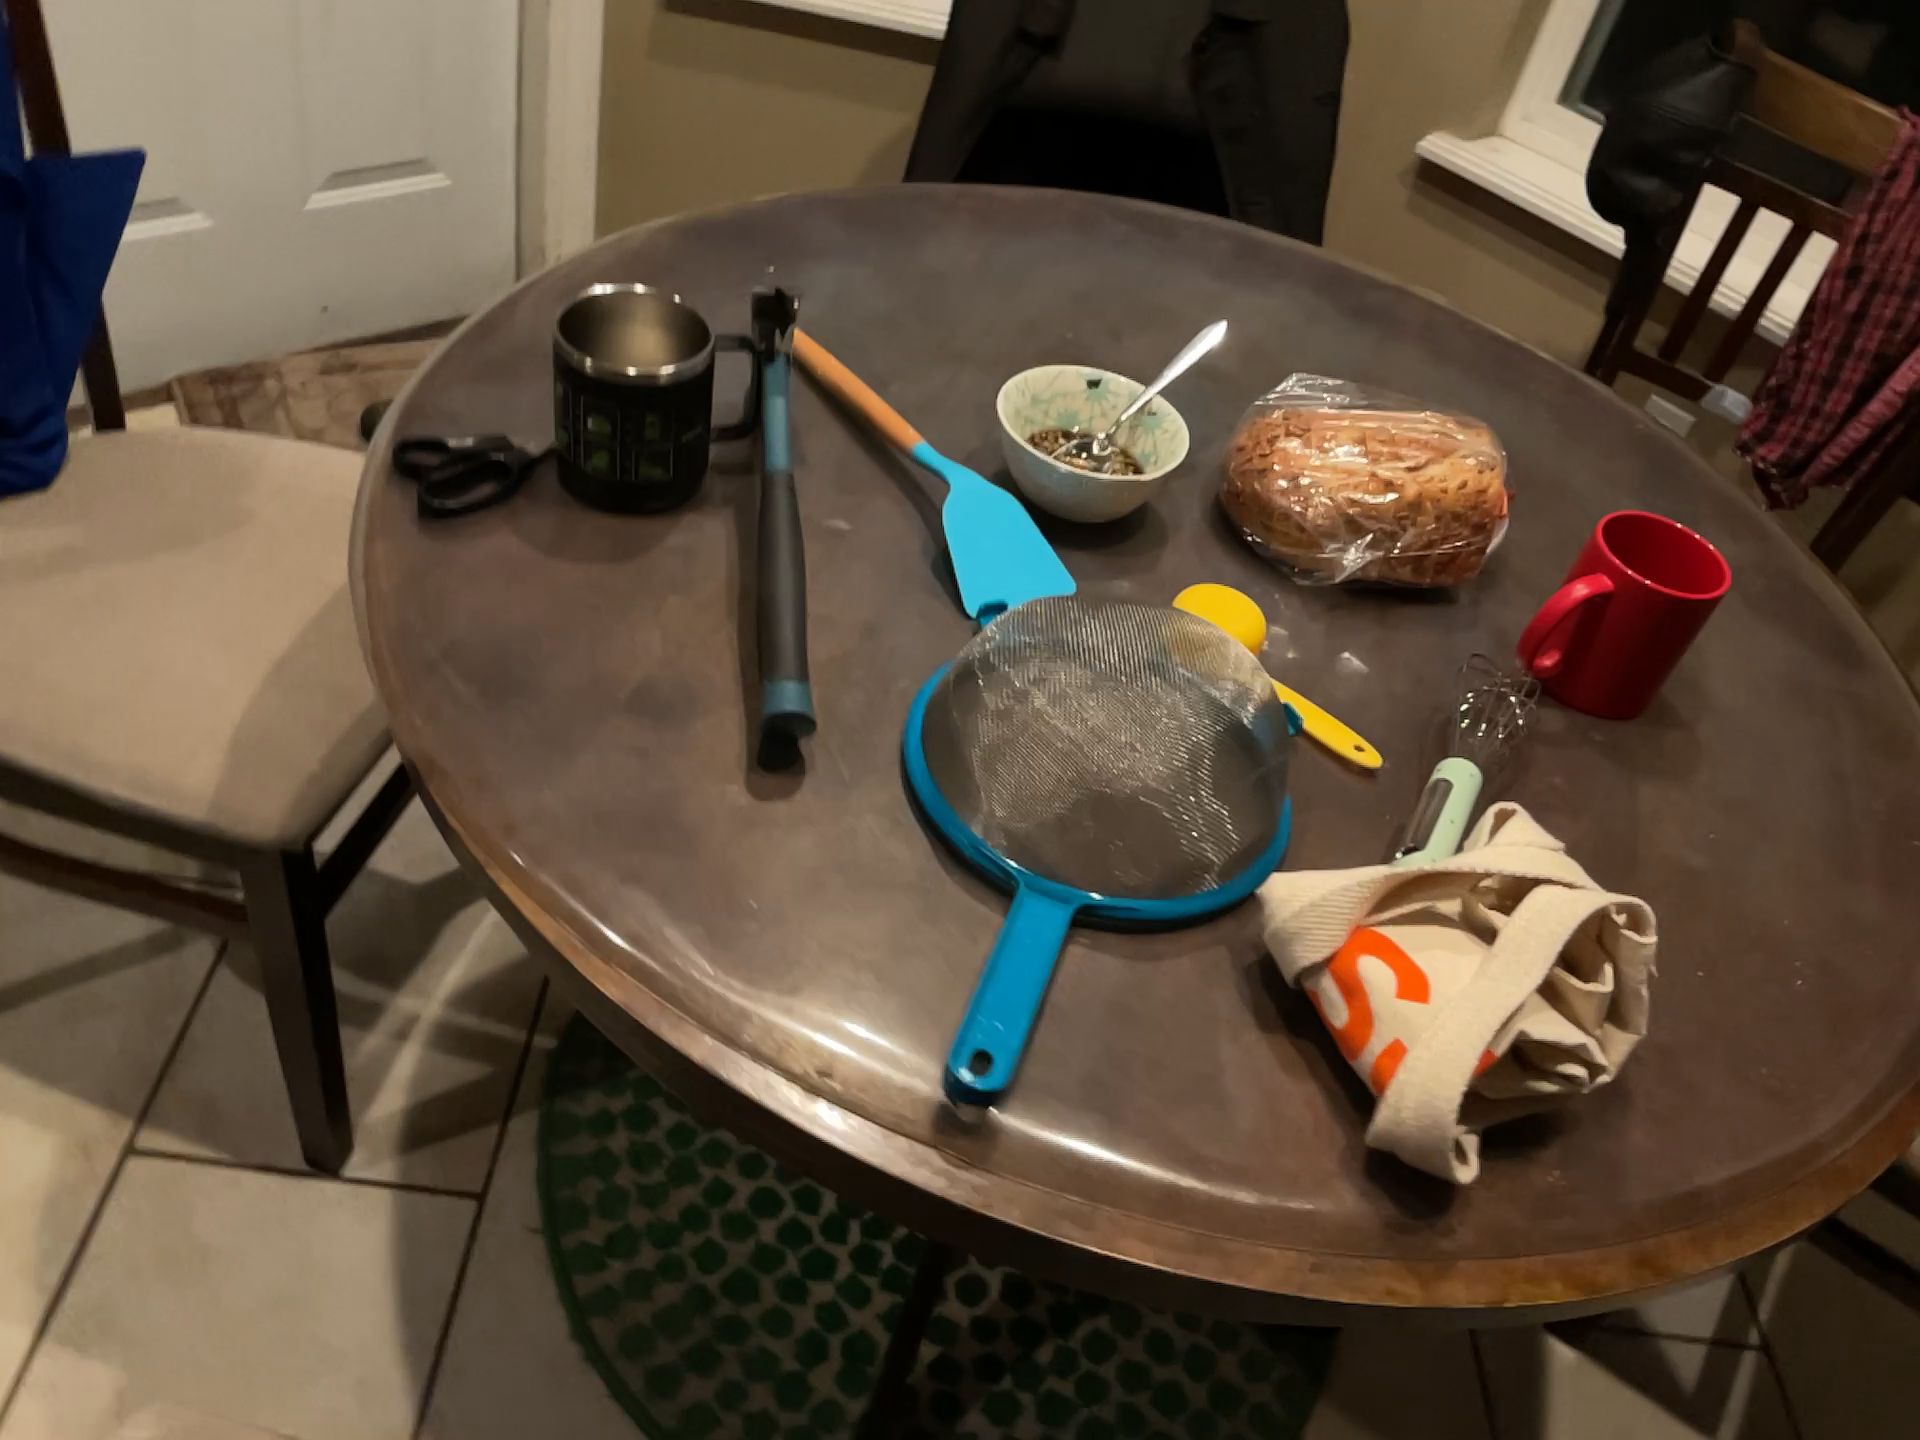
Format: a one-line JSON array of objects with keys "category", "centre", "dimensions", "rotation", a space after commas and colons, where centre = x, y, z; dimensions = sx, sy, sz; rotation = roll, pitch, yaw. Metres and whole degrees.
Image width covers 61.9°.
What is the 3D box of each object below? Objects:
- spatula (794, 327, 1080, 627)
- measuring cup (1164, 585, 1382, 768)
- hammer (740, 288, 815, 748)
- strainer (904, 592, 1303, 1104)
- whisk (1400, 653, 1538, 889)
[{"category": "spatula", "centre": [-0.040, -0.171, 1.026], "dimensions": [0.082, 0.044, 0.318], "rotation": [-17, 46, -29]}, {"category": "measuring cup", "centre": [0.184, -0.028, 0.922], "dimensions": [0.062, 0.029, 0.156], "rotation": [-26, 54, -36]}, {"category": "hammer", "centre": [-0.104, -0.119, 0.904], "dimensions": [0.033, 0.128, 0.331], "rotation": [1, 52, -11]}, {"category": "strainer", "centre": [0.063, 0.034, 0.776], "dimensions": [0.211, 0.095, 0.341], "rotation": [19, 38, 7]}, {"category": "whisk", "centre": [0.267, 0.027, 0.851], "dimensions": [0.059, 0.057, 0.246], "rotation": [51, 37, -5]}]
